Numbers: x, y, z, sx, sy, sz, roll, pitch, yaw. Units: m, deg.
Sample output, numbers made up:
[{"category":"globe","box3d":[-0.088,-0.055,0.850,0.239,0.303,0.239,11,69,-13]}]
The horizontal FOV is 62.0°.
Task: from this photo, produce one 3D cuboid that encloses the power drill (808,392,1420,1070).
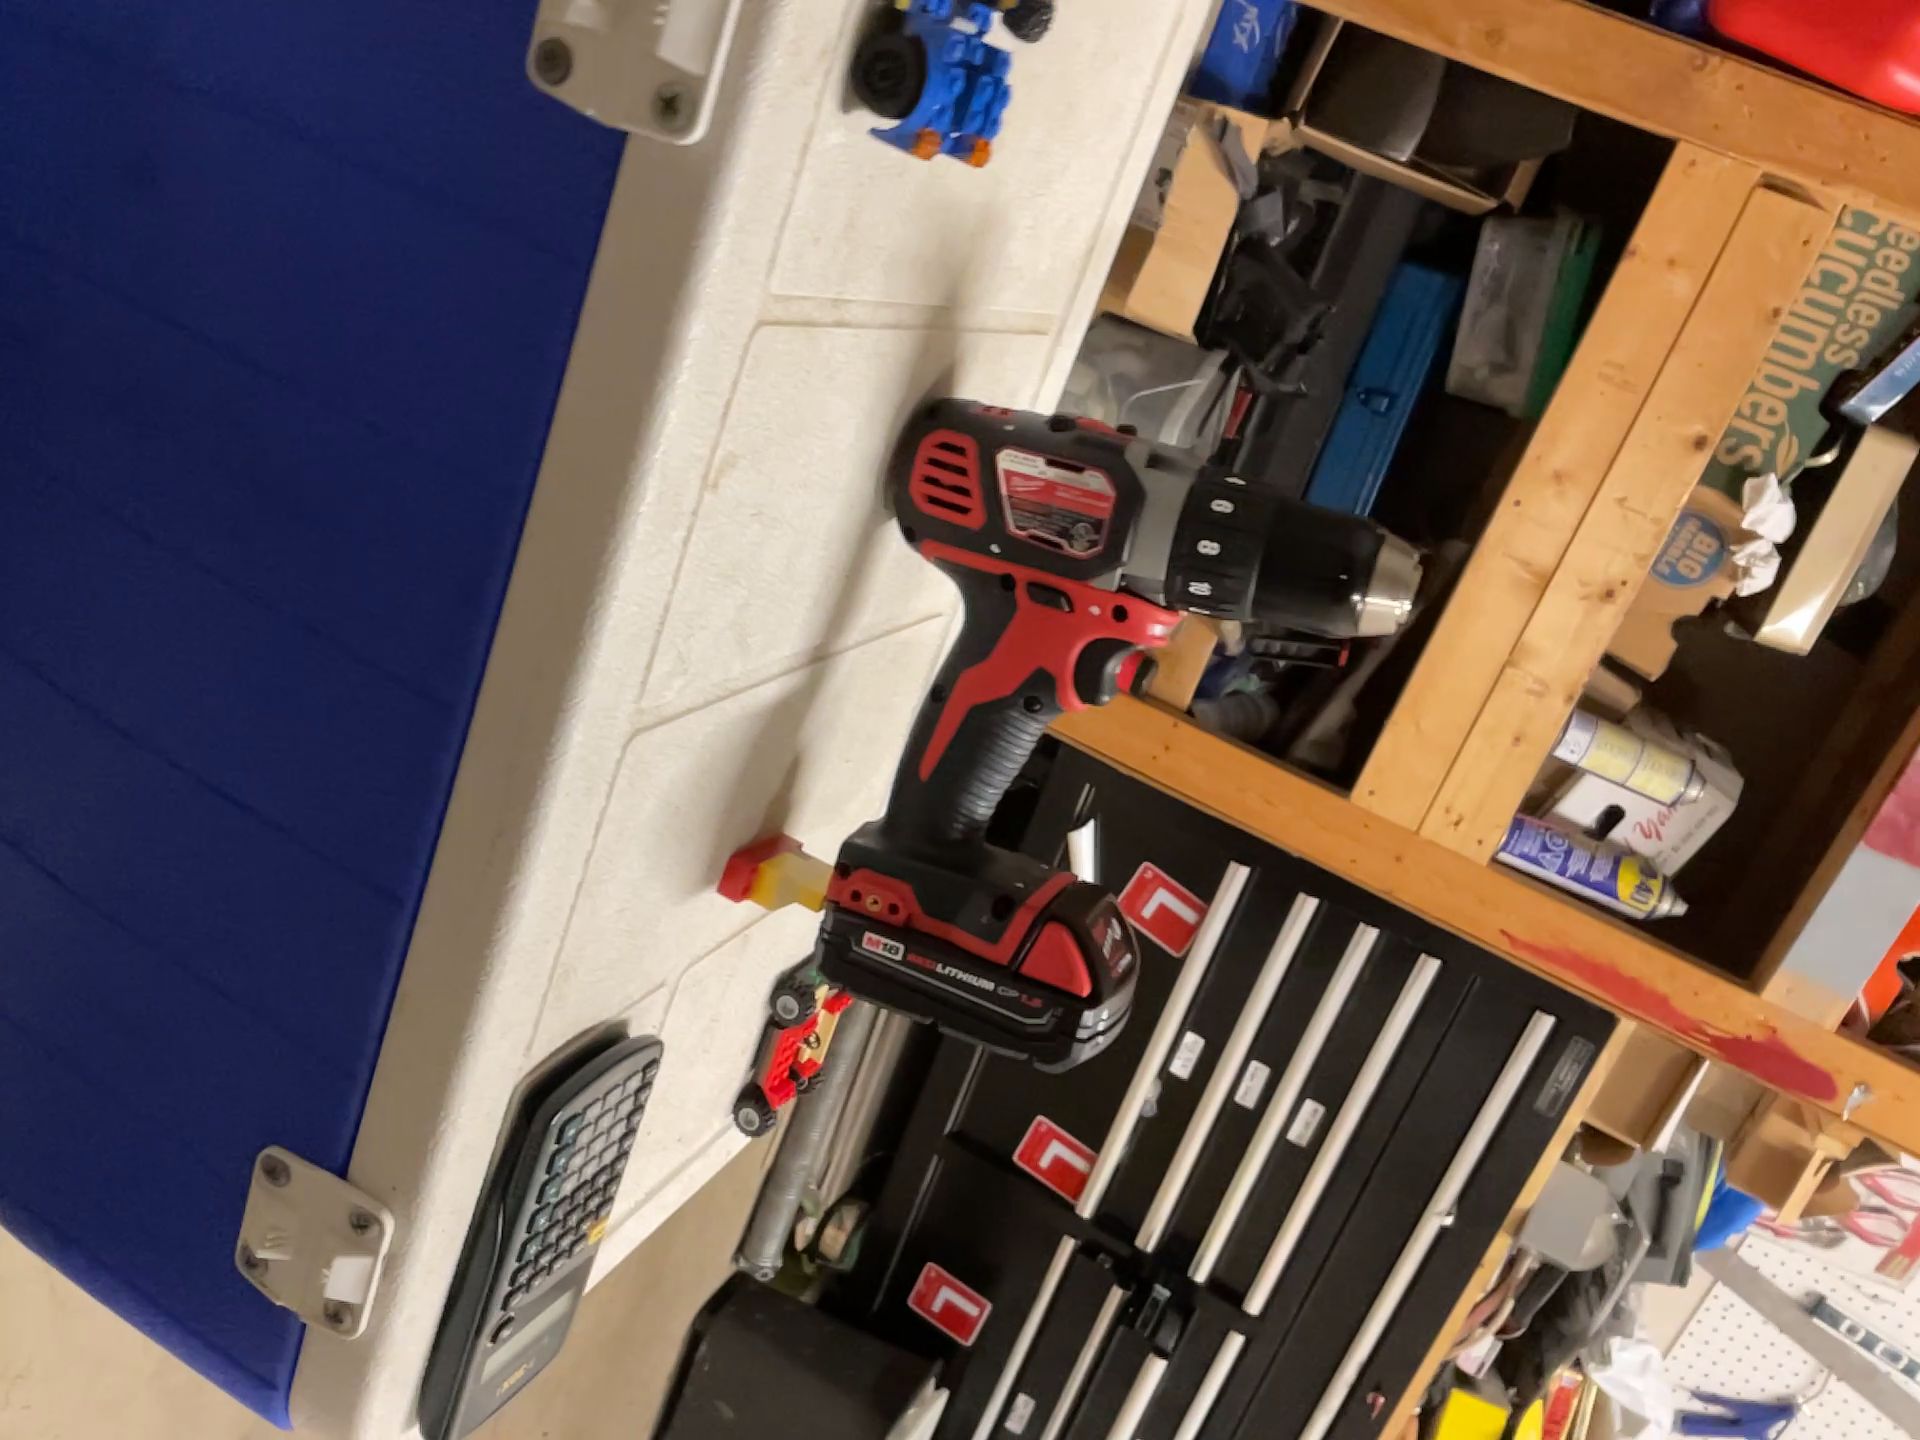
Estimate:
[{"category":"power drill","box3d":[0.048,0.006,0.583,0.080,0.188,0.226,-21,126,-71]}]
